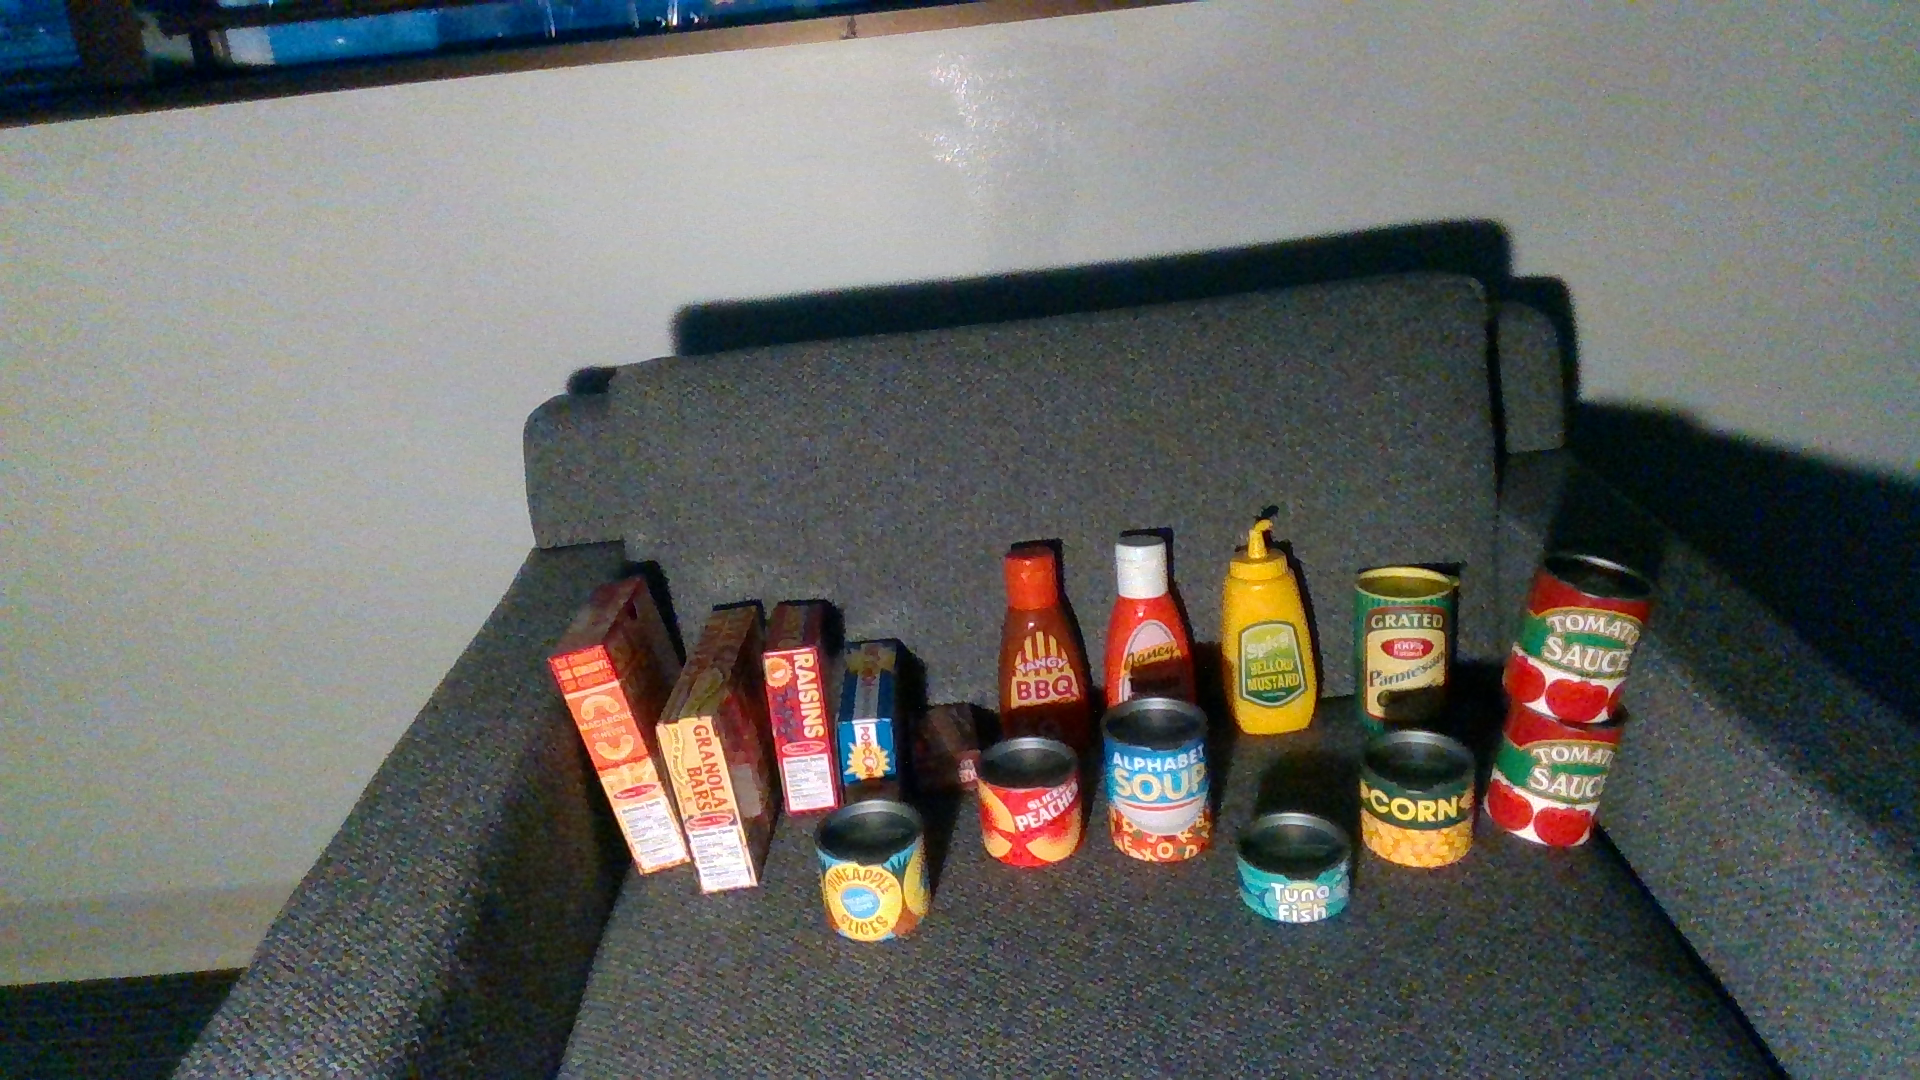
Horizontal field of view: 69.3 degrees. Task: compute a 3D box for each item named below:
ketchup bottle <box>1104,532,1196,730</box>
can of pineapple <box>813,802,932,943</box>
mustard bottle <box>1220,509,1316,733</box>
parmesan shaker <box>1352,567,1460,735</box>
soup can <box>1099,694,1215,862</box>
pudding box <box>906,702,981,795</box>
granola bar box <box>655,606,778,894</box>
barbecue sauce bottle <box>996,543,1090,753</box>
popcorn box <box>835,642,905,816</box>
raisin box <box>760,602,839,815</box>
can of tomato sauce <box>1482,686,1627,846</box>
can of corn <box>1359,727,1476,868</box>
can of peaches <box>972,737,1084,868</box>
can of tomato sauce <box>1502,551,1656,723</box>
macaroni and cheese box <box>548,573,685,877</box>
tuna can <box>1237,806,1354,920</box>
[{"bbox_3d":[0.132,0.069,0.982,0.065,0.148,0.043,-6,15,-3],"label":"ketchup bottle"},{"bbox_3d":[-0.052,0.198,0.827,0.071,0.057,0.071,-6,18,2],"label":"can of pineapple"},{"bbox_3d":[0.213,0.056,0.979,0.065,0.159,0.049,-9,15,5],"label":"mustard bottle"},{"bbox_3d":[0.313,0.078,0.972,0.071,0.102,0.071,-5,17,2],"label":"parmesan shaker"},{"bbox_3d":[0.124,0.149,0.863,0.071,0.083,0.071,-7,19,2],"label":"soup can"},{"bbox_3d":[-0.011,0.147,0.982,0.050,0.030,0.084,-8,17,-2],"label":"pudding box"},{"bbox_3d":[-0.154,0.135,0.927,0.039,0.123,0.166,-9,21,5],"label":"granola bar box"},{"bbox_3d":[0.055,0.078,0.982,0.065,0.148,0.044,-7,15,-4],"label":"barbecue sauce bottle"},{"bbox_3d":[-0.060,0.133,0.953,0.038,0.085,0.127,-5,19,1],"label":"popcorn box"},{"bbox_3d":[-0.109,0.115,0.966,0.040,0.123,0.086,-6,16,0],"label":"raisin box"},{"bbox_3d":[0.362,0.135,0.848,0.071,0.082,0.071,6,20,-2],"label":"can of tomato sauce"},{"bbox_3d":[0.274,0.156,0.835,0.071,0.058,0.071,-6,23,2],"label":"can of corn"},{"bbox_3d":[0.045,0.166,0.877,0.071,0.057,0.071,-6,20,2],"label":"can of peaches"},{"bbox_3d":[0.364,0.058,0.821,0.071,0.082,0.071,6,22,-2],"label":"can of tomato sauce"},{"bbox_3d":[-0.214,0.121,0.942,0.040,0.166,0.124,-15,19,6],"label":"macaroni and cheese box"},{"bbox_3d":[0.195,0.188,0.804,0.071,0.032,0.071,-7,25,3],"label":"tuna can"}]
